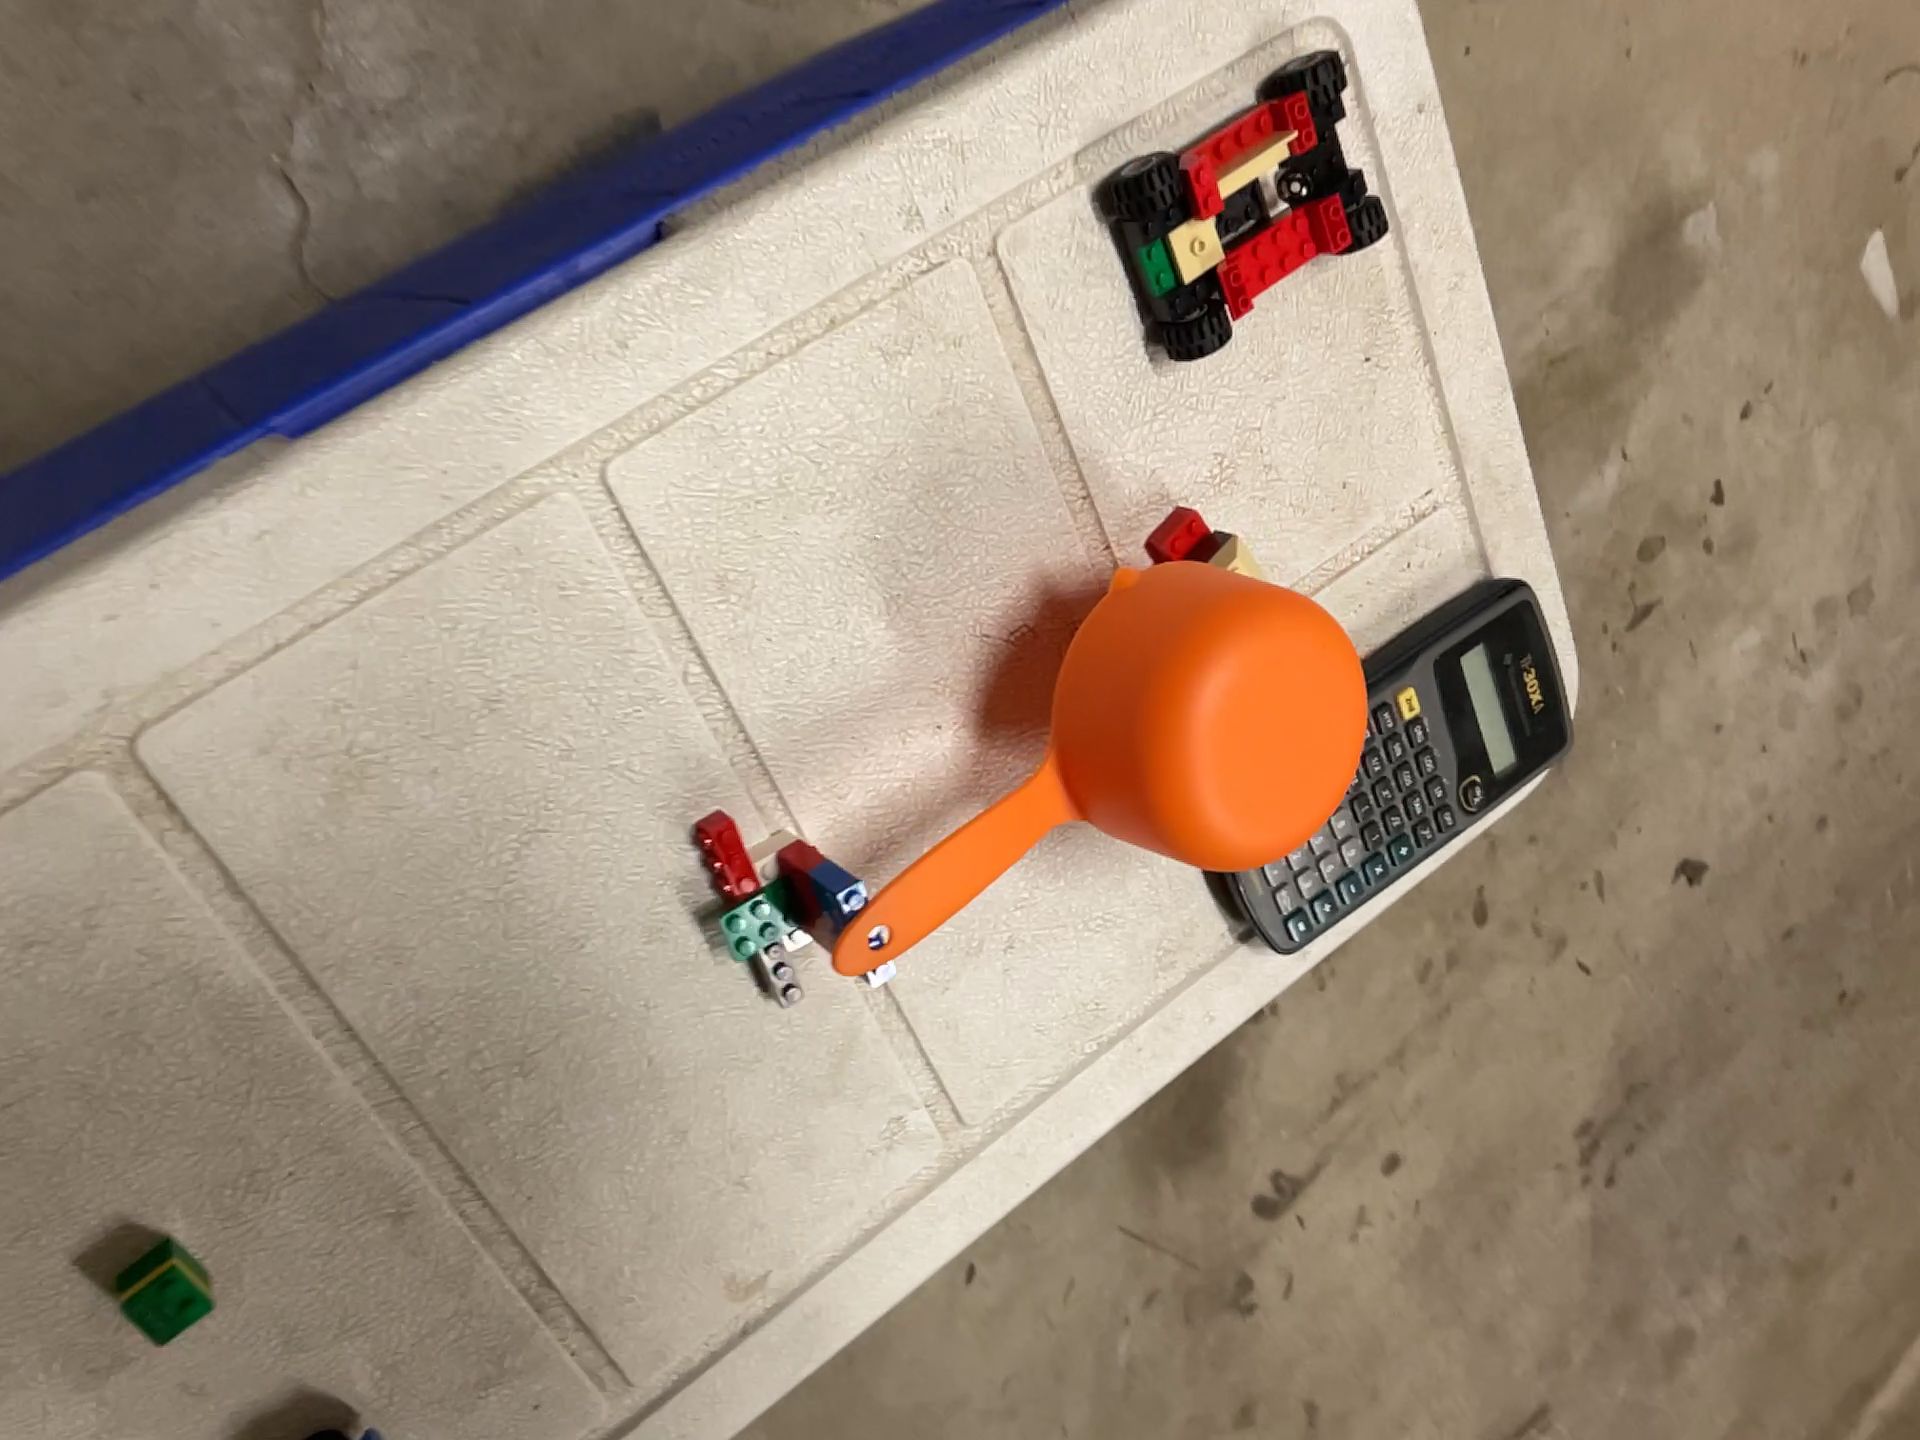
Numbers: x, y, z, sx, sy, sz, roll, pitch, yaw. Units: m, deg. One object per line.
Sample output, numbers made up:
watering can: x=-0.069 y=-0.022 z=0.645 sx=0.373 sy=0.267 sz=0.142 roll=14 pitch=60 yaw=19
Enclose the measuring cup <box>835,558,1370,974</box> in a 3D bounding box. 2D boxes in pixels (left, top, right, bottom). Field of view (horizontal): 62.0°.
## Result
measuring cup: x=0.044 y=0.023 z=0.444 sx=0.173 sy=0.052 sz=0.095 roll=-36 pitch=119 yaw=-23
